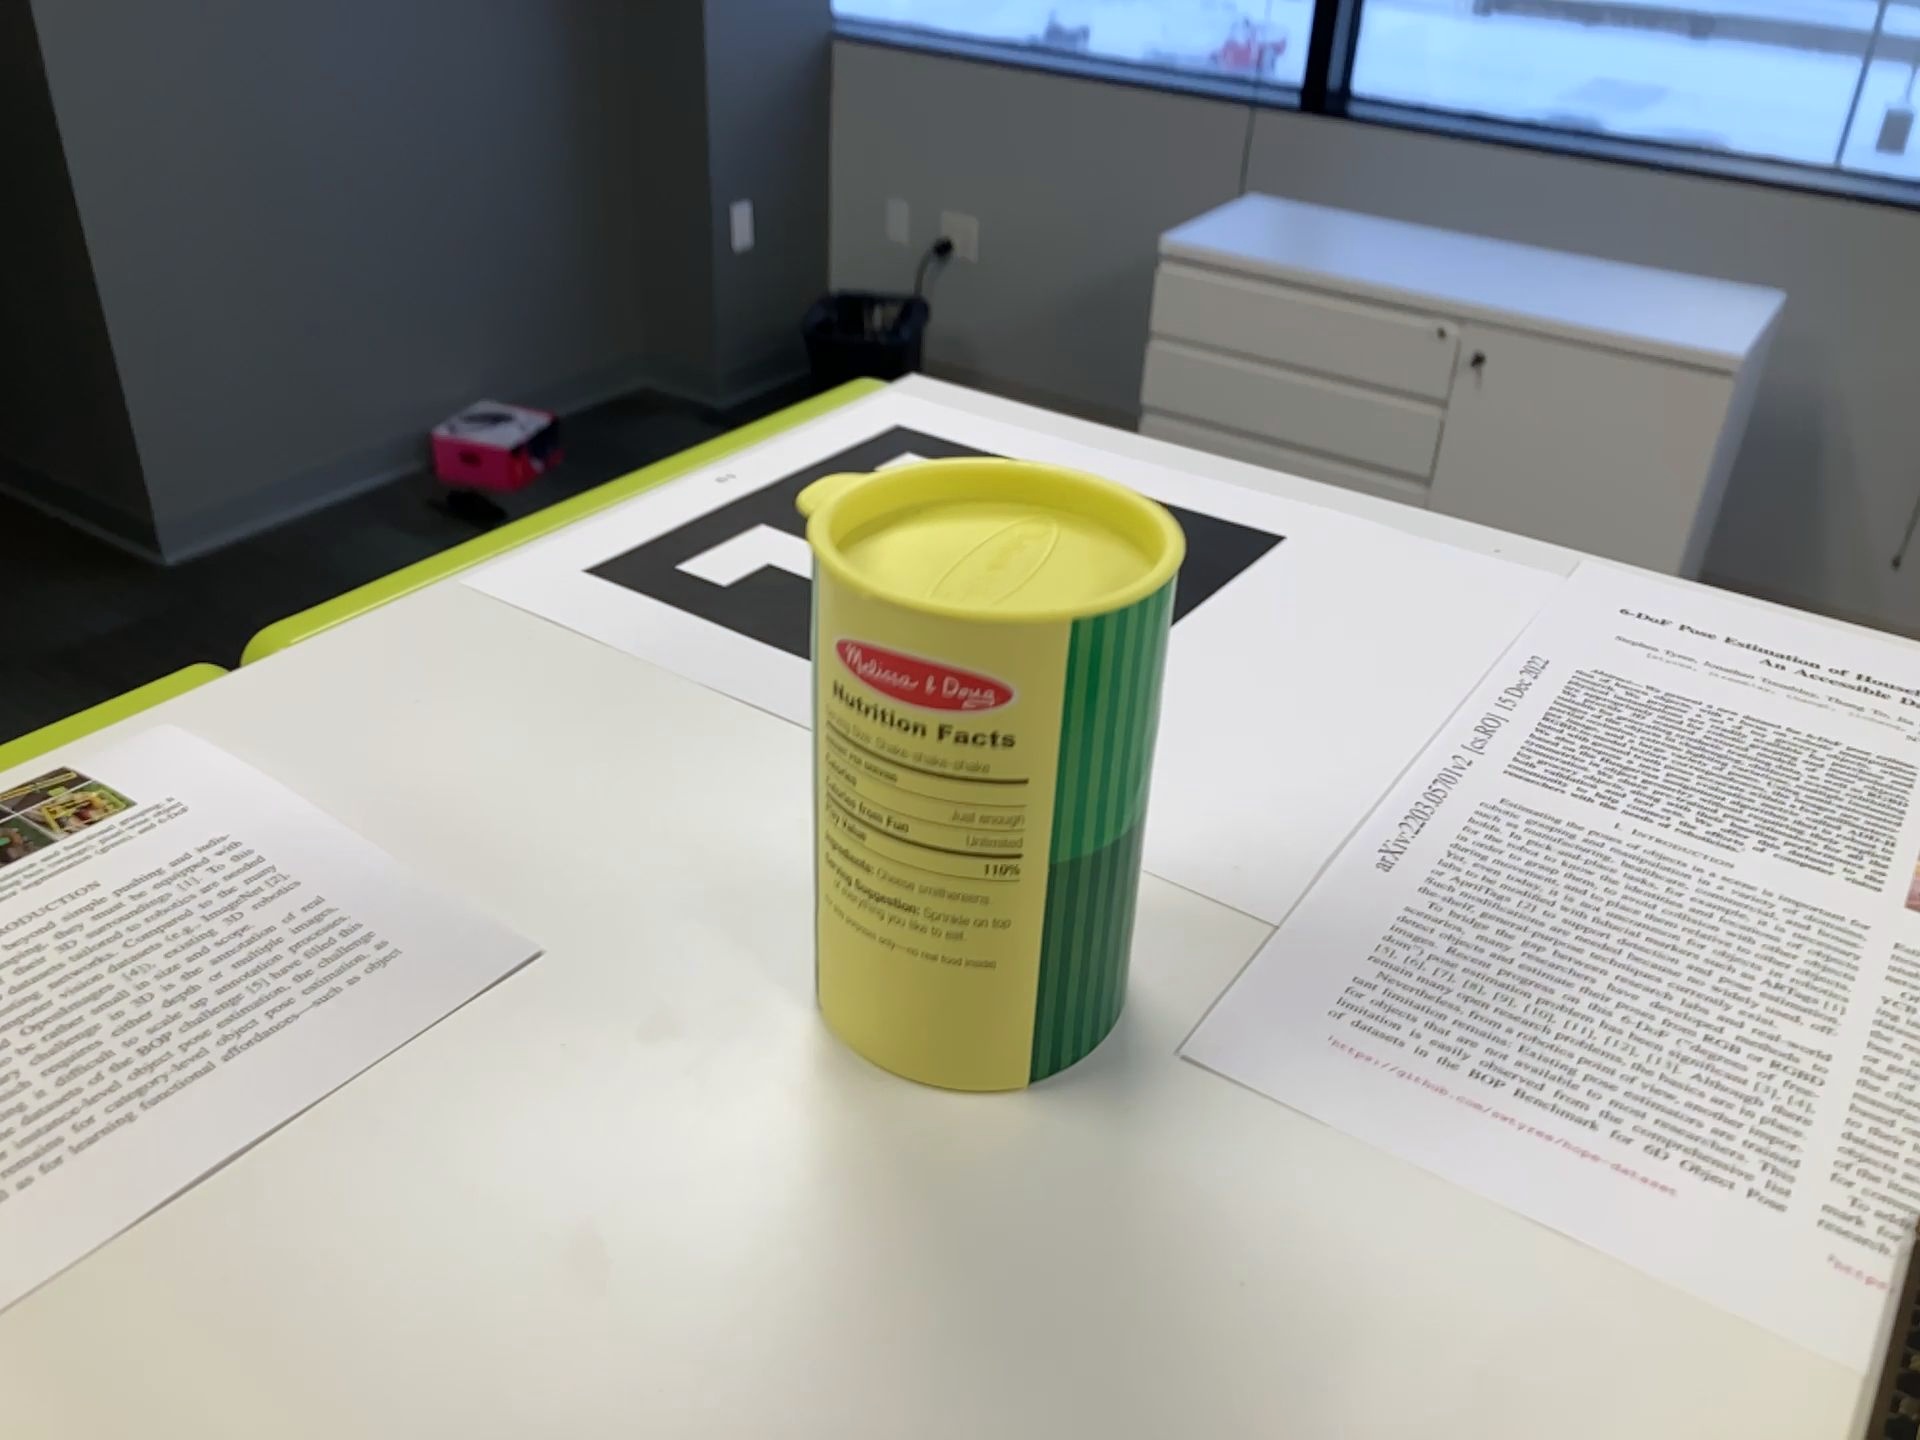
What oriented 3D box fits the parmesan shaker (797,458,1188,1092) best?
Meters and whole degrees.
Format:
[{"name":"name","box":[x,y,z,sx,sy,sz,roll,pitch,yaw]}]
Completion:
[{"name":"parmesan shaker","box":[0.002,0.009,0.304,0.071,0.103,0.071,2,31,-1]}]
